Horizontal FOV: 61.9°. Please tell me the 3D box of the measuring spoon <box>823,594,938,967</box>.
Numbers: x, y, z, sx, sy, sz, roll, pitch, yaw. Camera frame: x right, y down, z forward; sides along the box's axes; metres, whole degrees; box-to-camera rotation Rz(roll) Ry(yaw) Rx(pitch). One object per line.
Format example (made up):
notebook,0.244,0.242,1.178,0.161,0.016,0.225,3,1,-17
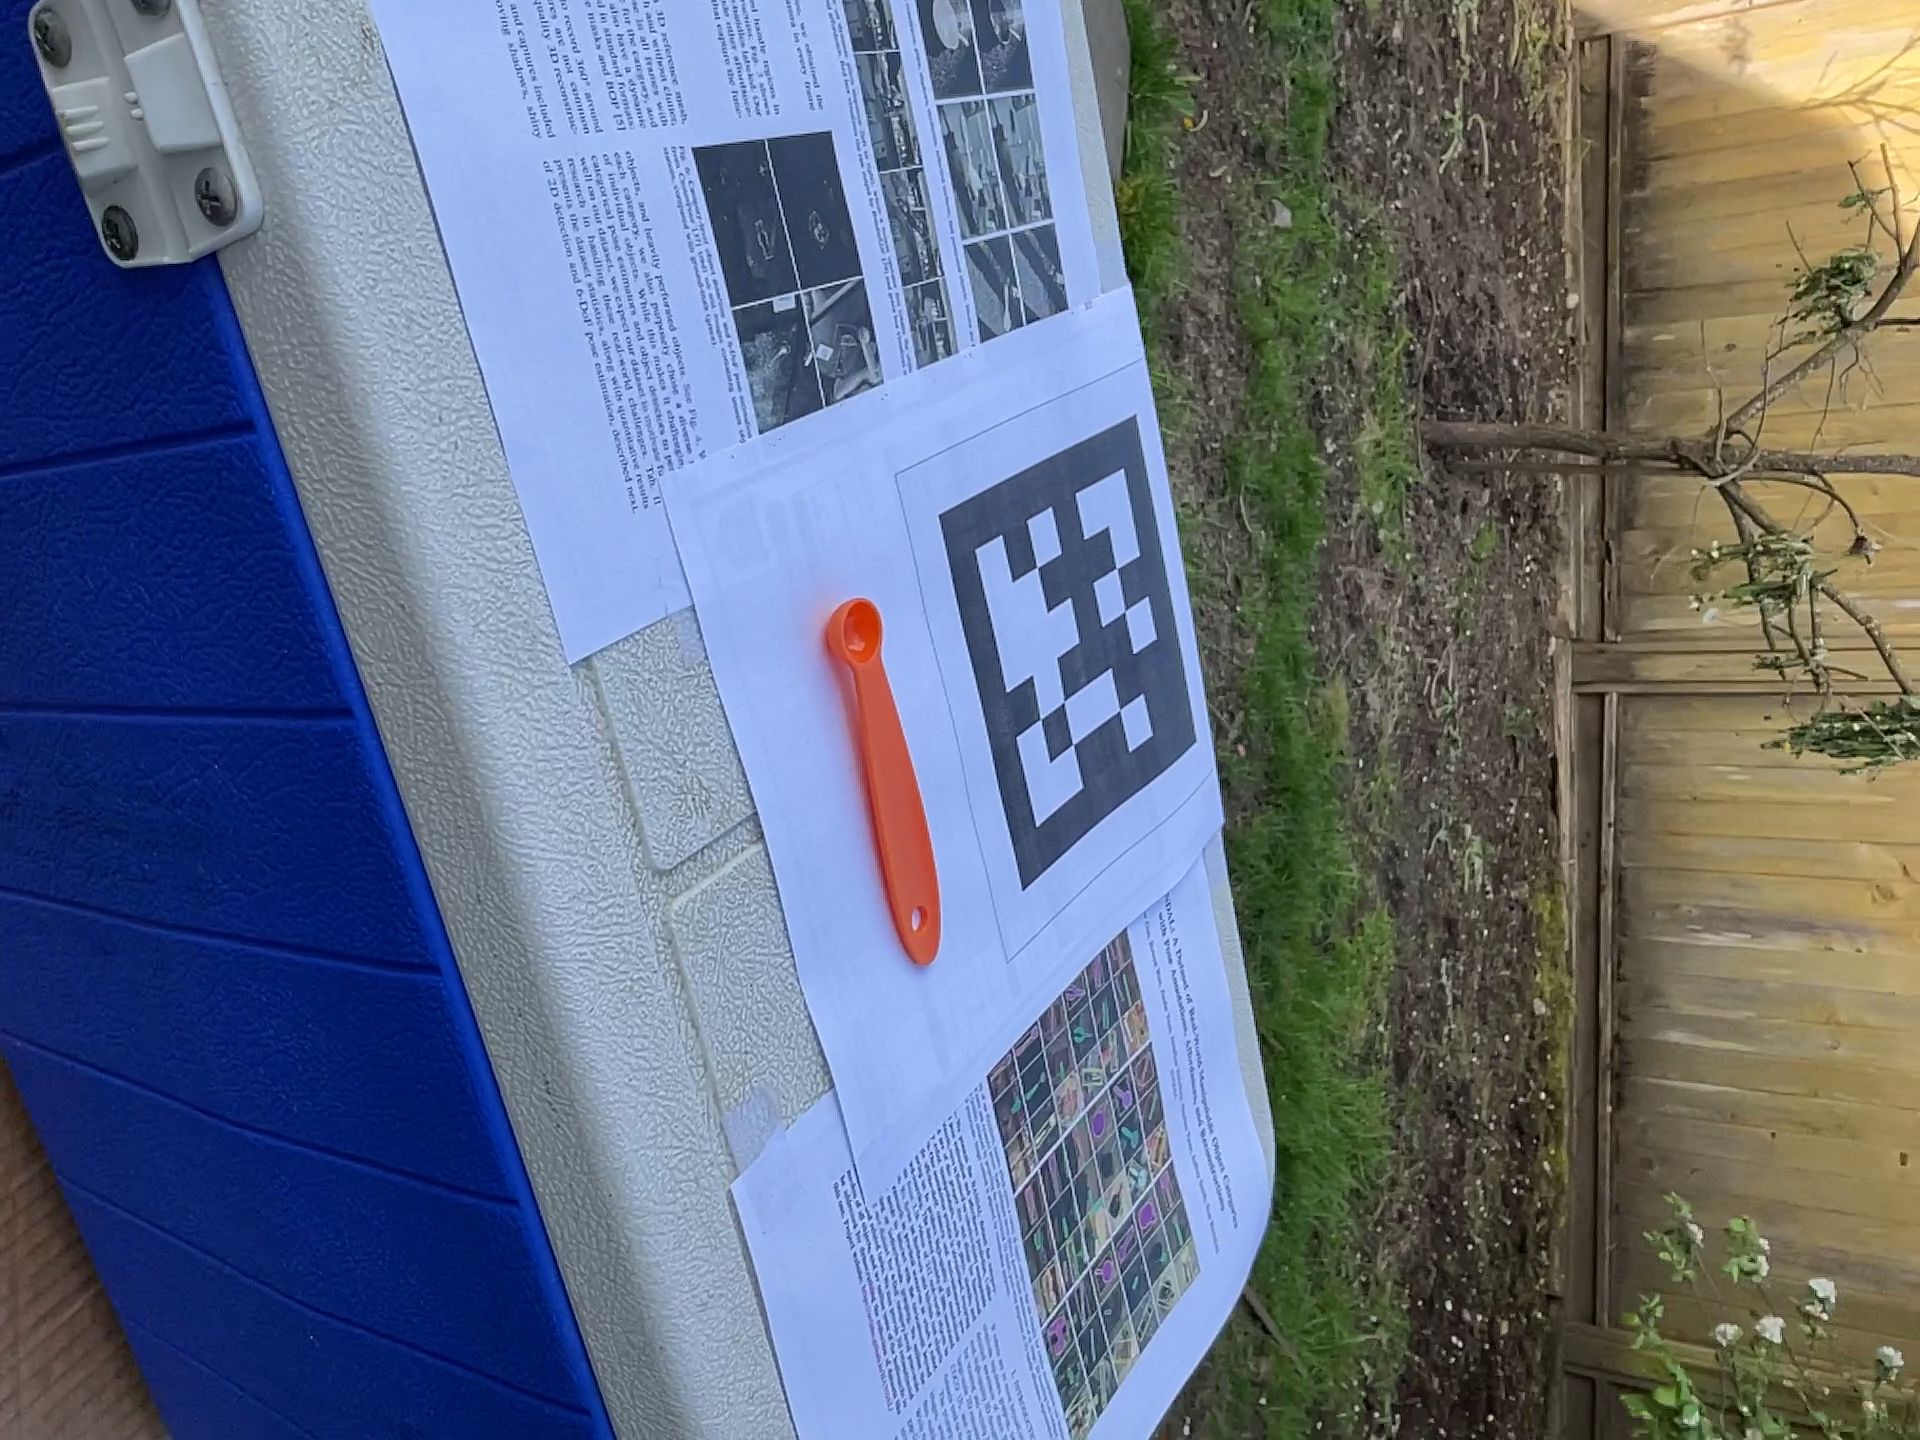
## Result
measuring spoon,-0.023,0.019,0.458,0.021,0.011,0.116,-38,124,-49
